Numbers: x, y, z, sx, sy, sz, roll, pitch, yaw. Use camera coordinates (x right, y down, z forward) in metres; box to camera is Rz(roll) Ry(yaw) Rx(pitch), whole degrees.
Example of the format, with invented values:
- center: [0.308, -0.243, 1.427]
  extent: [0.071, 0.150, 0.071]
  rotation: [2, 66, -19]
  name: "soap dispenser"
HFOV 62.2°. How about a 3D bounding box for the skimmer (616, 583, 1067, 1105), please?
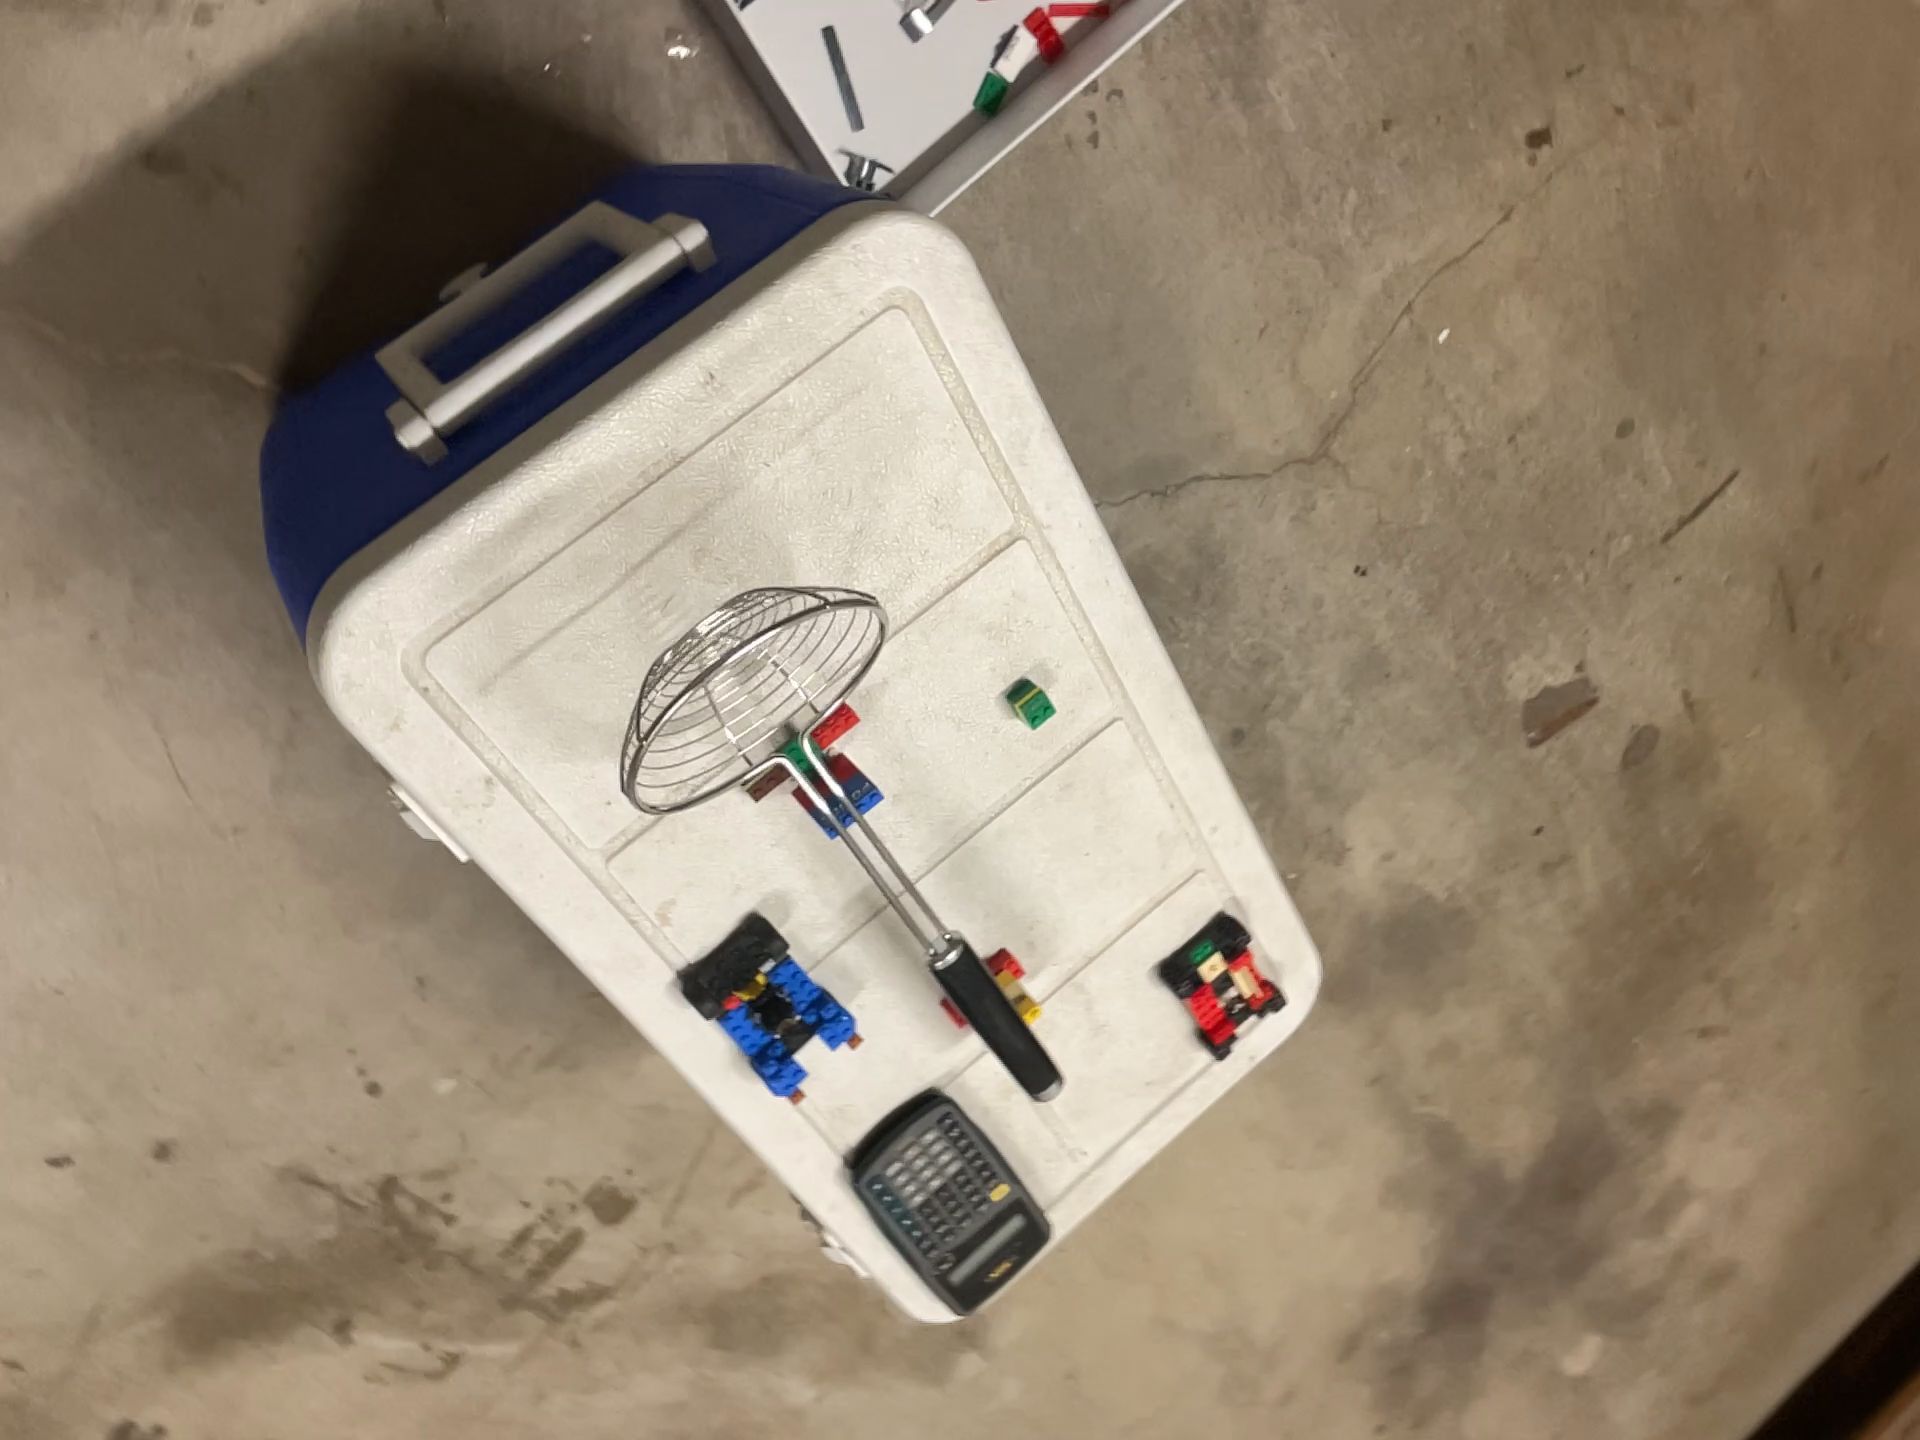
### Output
- center: [-0.022, 0.082, 0.705]
  extent: [0.127, 0.090, 0.362]
  rotation: [-38, 126, -7]
  name: "skimmer"
